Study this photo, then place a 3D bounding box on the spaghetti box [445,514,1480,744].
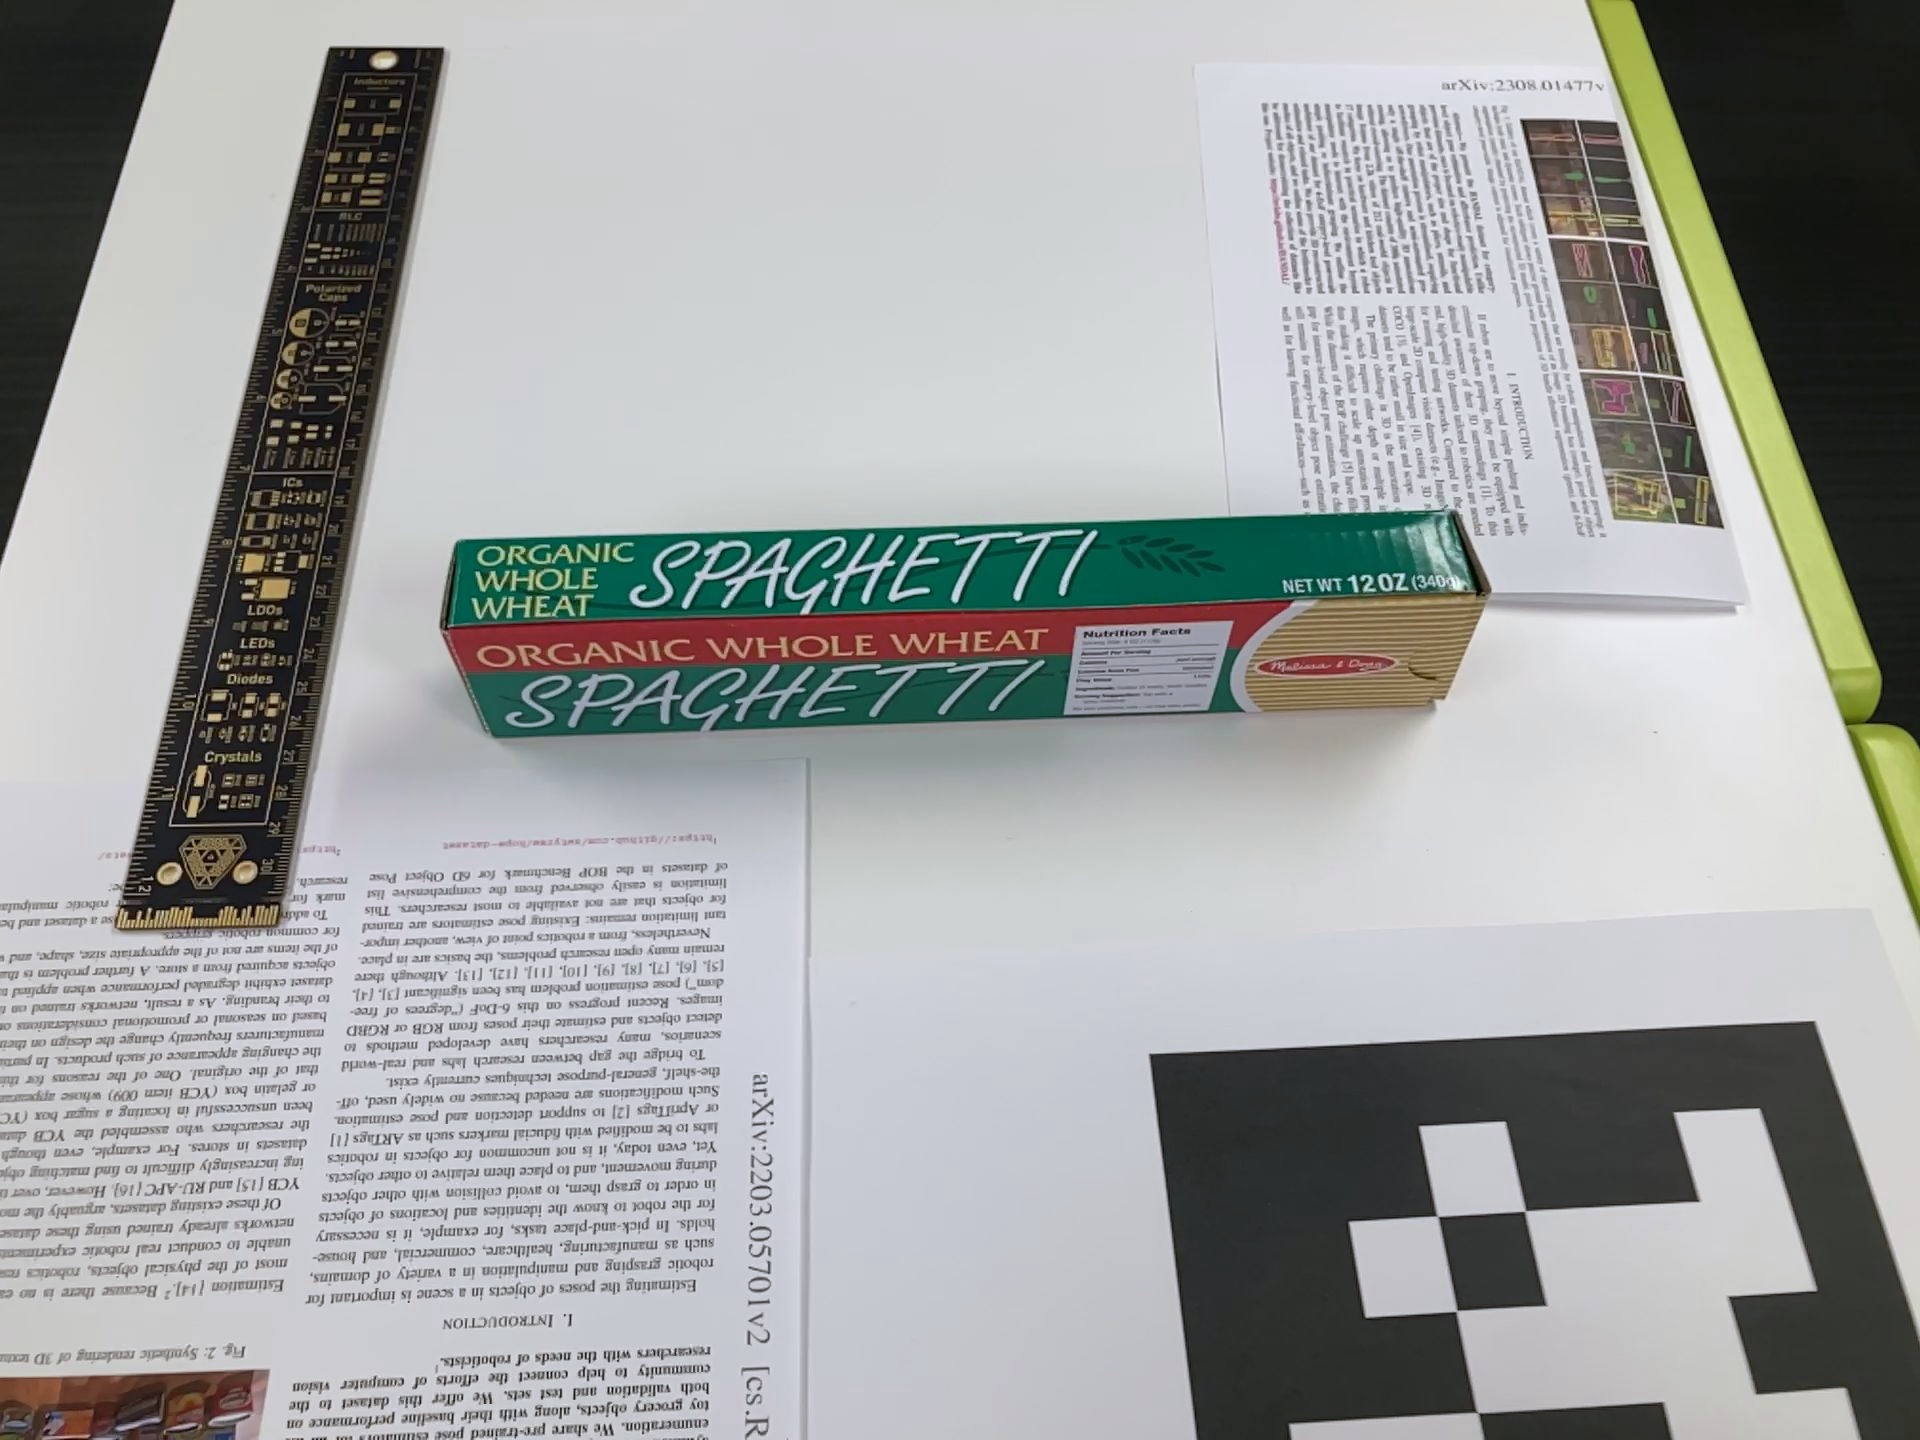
[{"bbox_3d":[0.001,-0.023,0.404,0.250,0.050,0.028,-2,56,-3],"label":"spaghetti box"}]
